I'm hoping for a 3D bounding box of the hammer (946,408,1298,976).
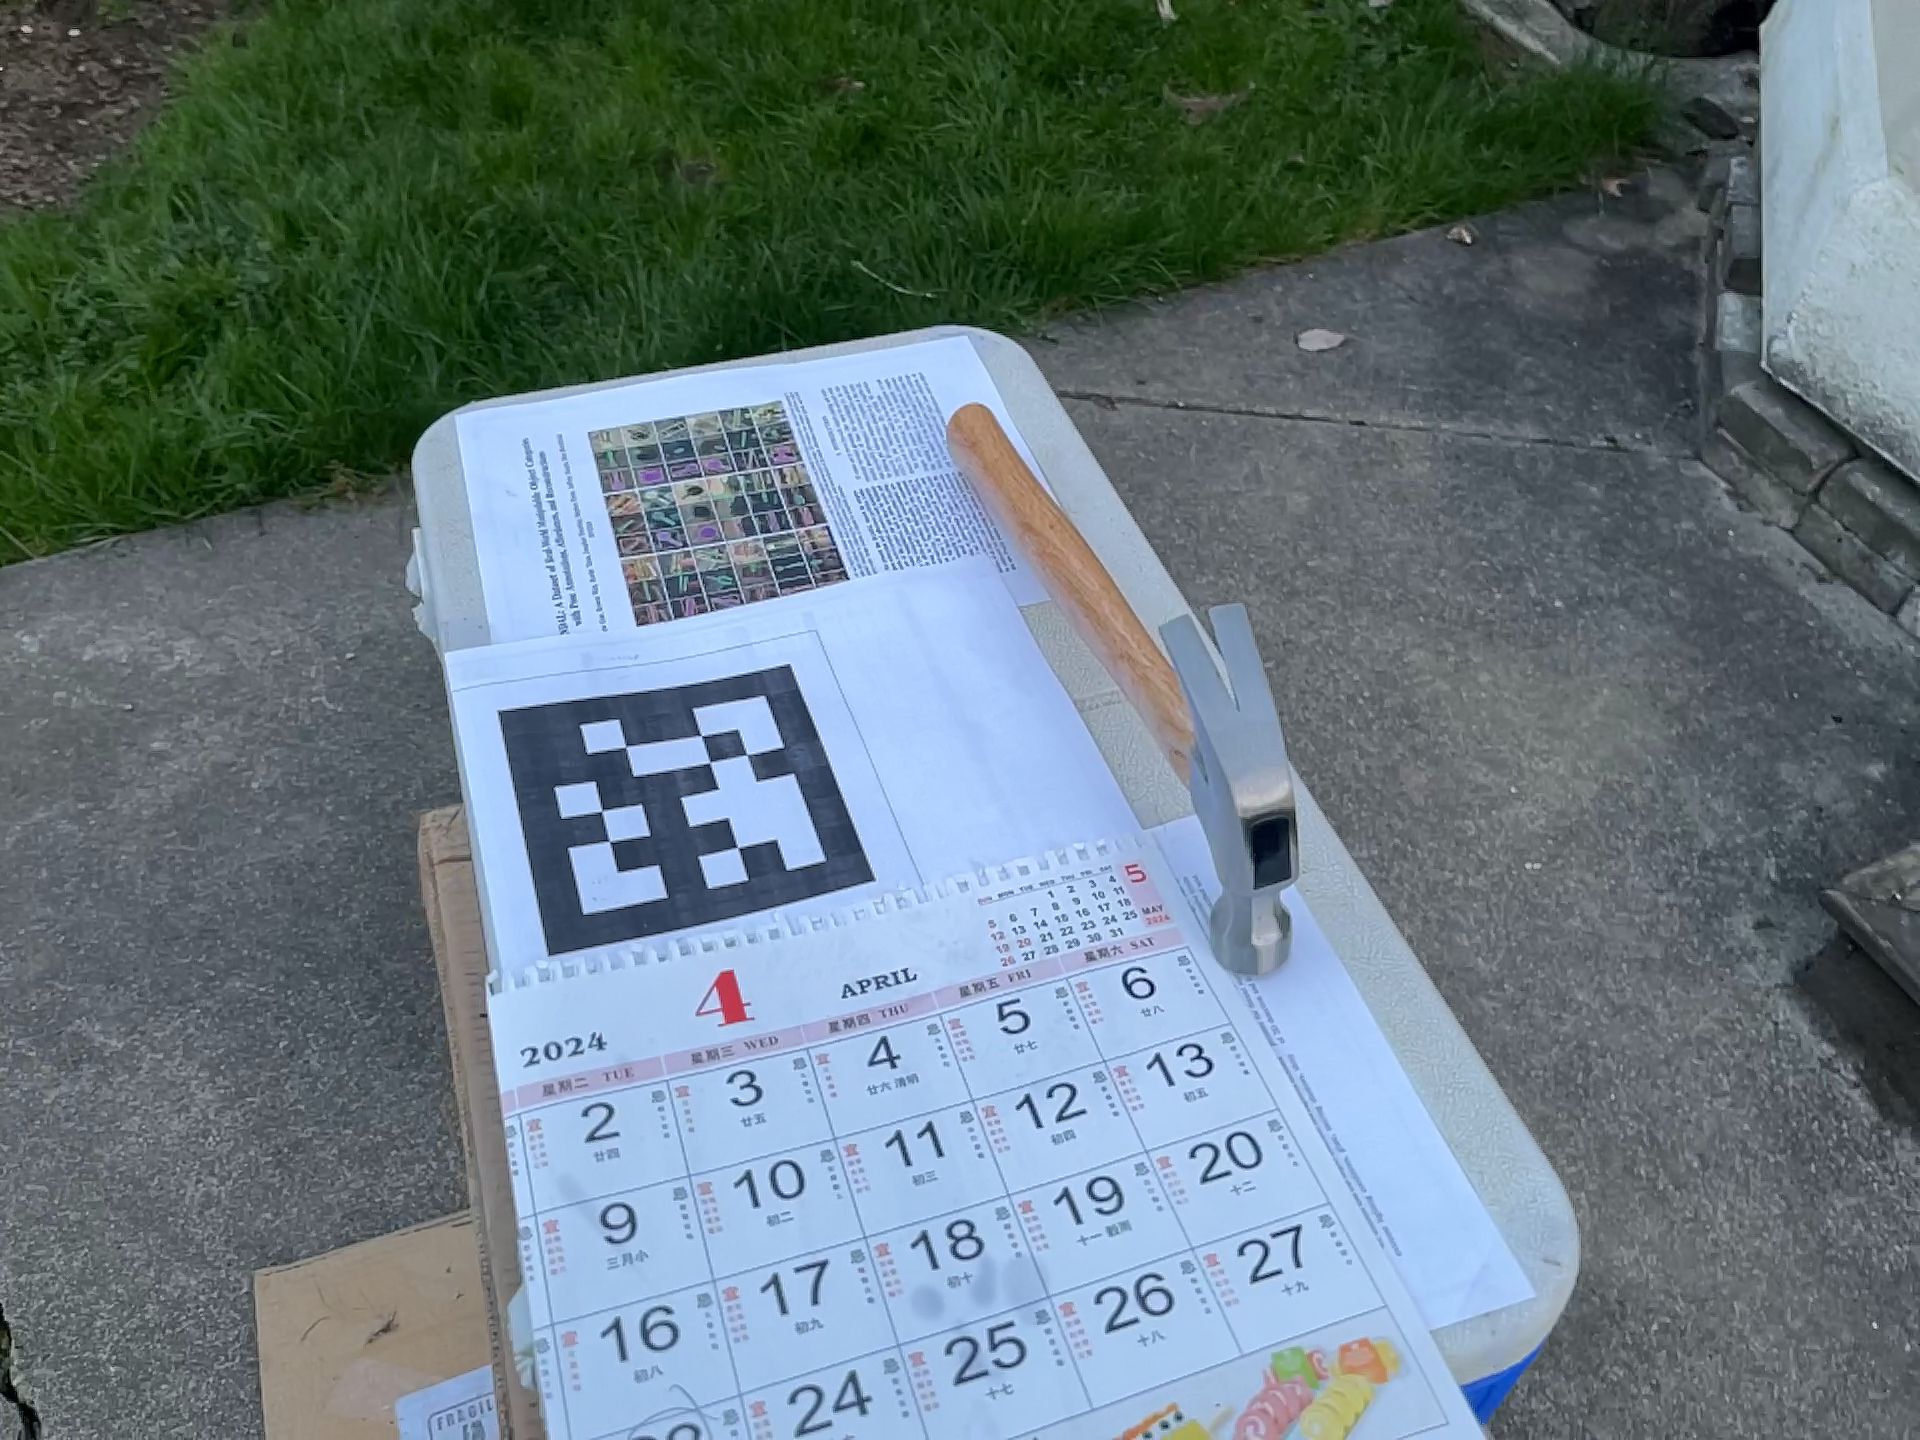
[{"bbox_3d":[0.057,-0.050,0.662,0.031,0.130,0.331,-17,41,-10],"label":"hammer"}]
